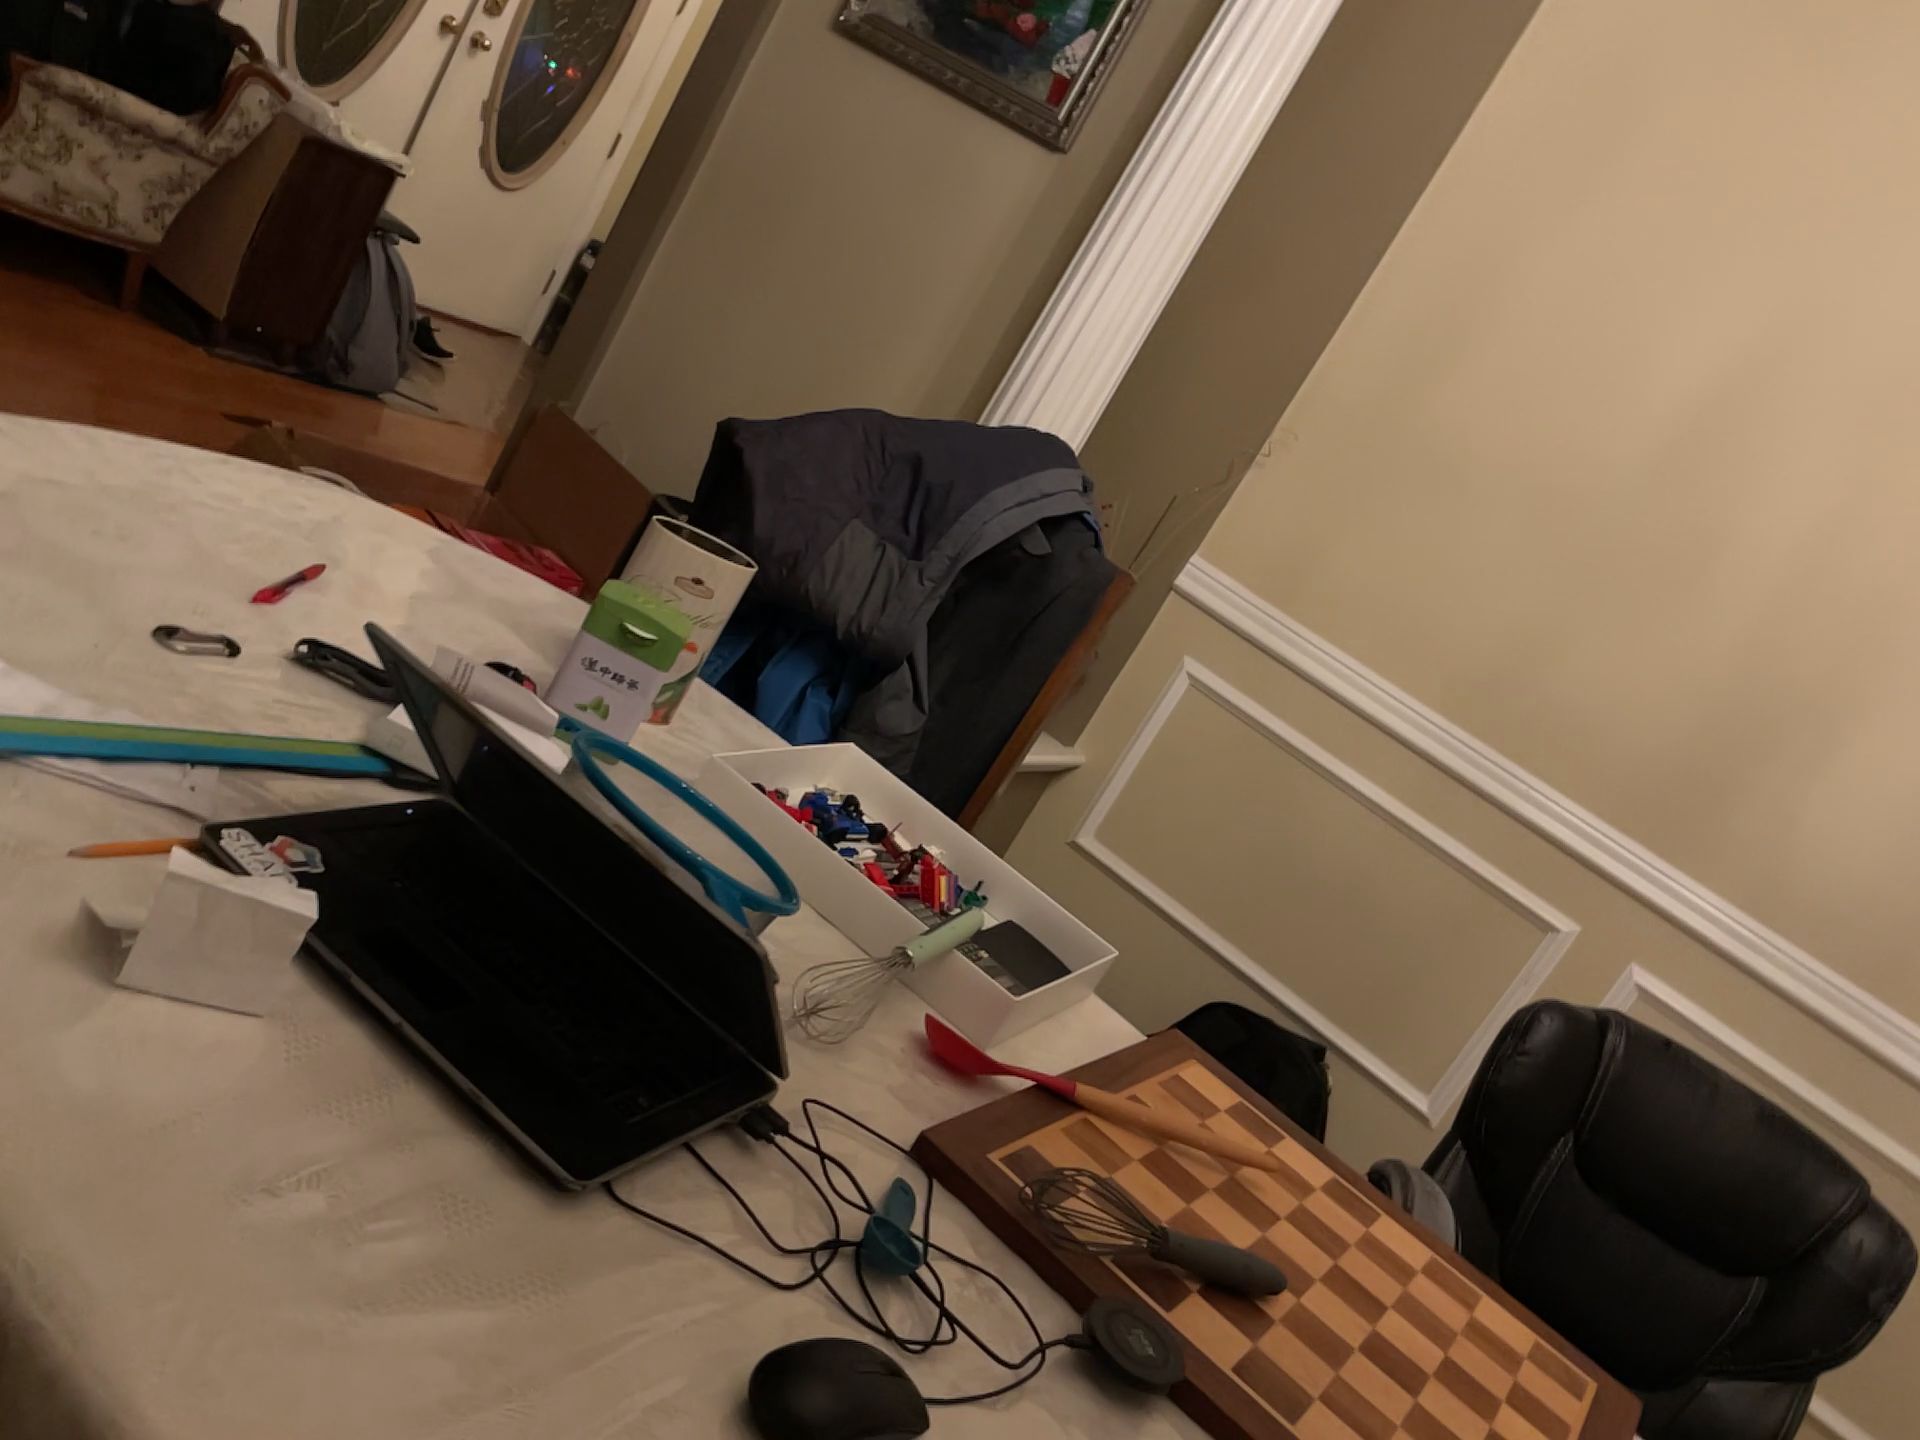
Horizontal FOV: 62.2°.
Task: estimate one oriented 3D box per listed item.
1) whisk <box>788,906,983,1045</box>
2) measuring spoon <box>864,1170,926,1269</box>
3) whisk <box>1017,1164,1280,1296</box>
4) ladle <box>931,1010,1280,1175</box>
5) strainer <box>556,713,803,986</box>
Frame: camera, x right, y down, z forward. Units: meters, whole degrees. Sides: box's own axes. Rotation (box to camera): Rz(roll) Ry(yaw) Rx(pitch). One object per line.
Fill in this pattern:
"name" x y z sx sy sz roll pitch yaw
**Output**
"whisk" -0.052 0.191 1.245 0.246 0.058 0.059 -21 83 -55
"measuring spoon" -0.043 0.313 0.997 0.042 0.021 0.128 38 2 -2
"whisk" 0.134 0.358 1.093 0.238 0.055 0.055 29 27 -27
"ladle" 0.116 0.302 1.265 0.315 0.031 0.069 24 -7 -10
"strainer" -0.202 0.128 1.115 0.210 0.095 0.341 38 4 -30
